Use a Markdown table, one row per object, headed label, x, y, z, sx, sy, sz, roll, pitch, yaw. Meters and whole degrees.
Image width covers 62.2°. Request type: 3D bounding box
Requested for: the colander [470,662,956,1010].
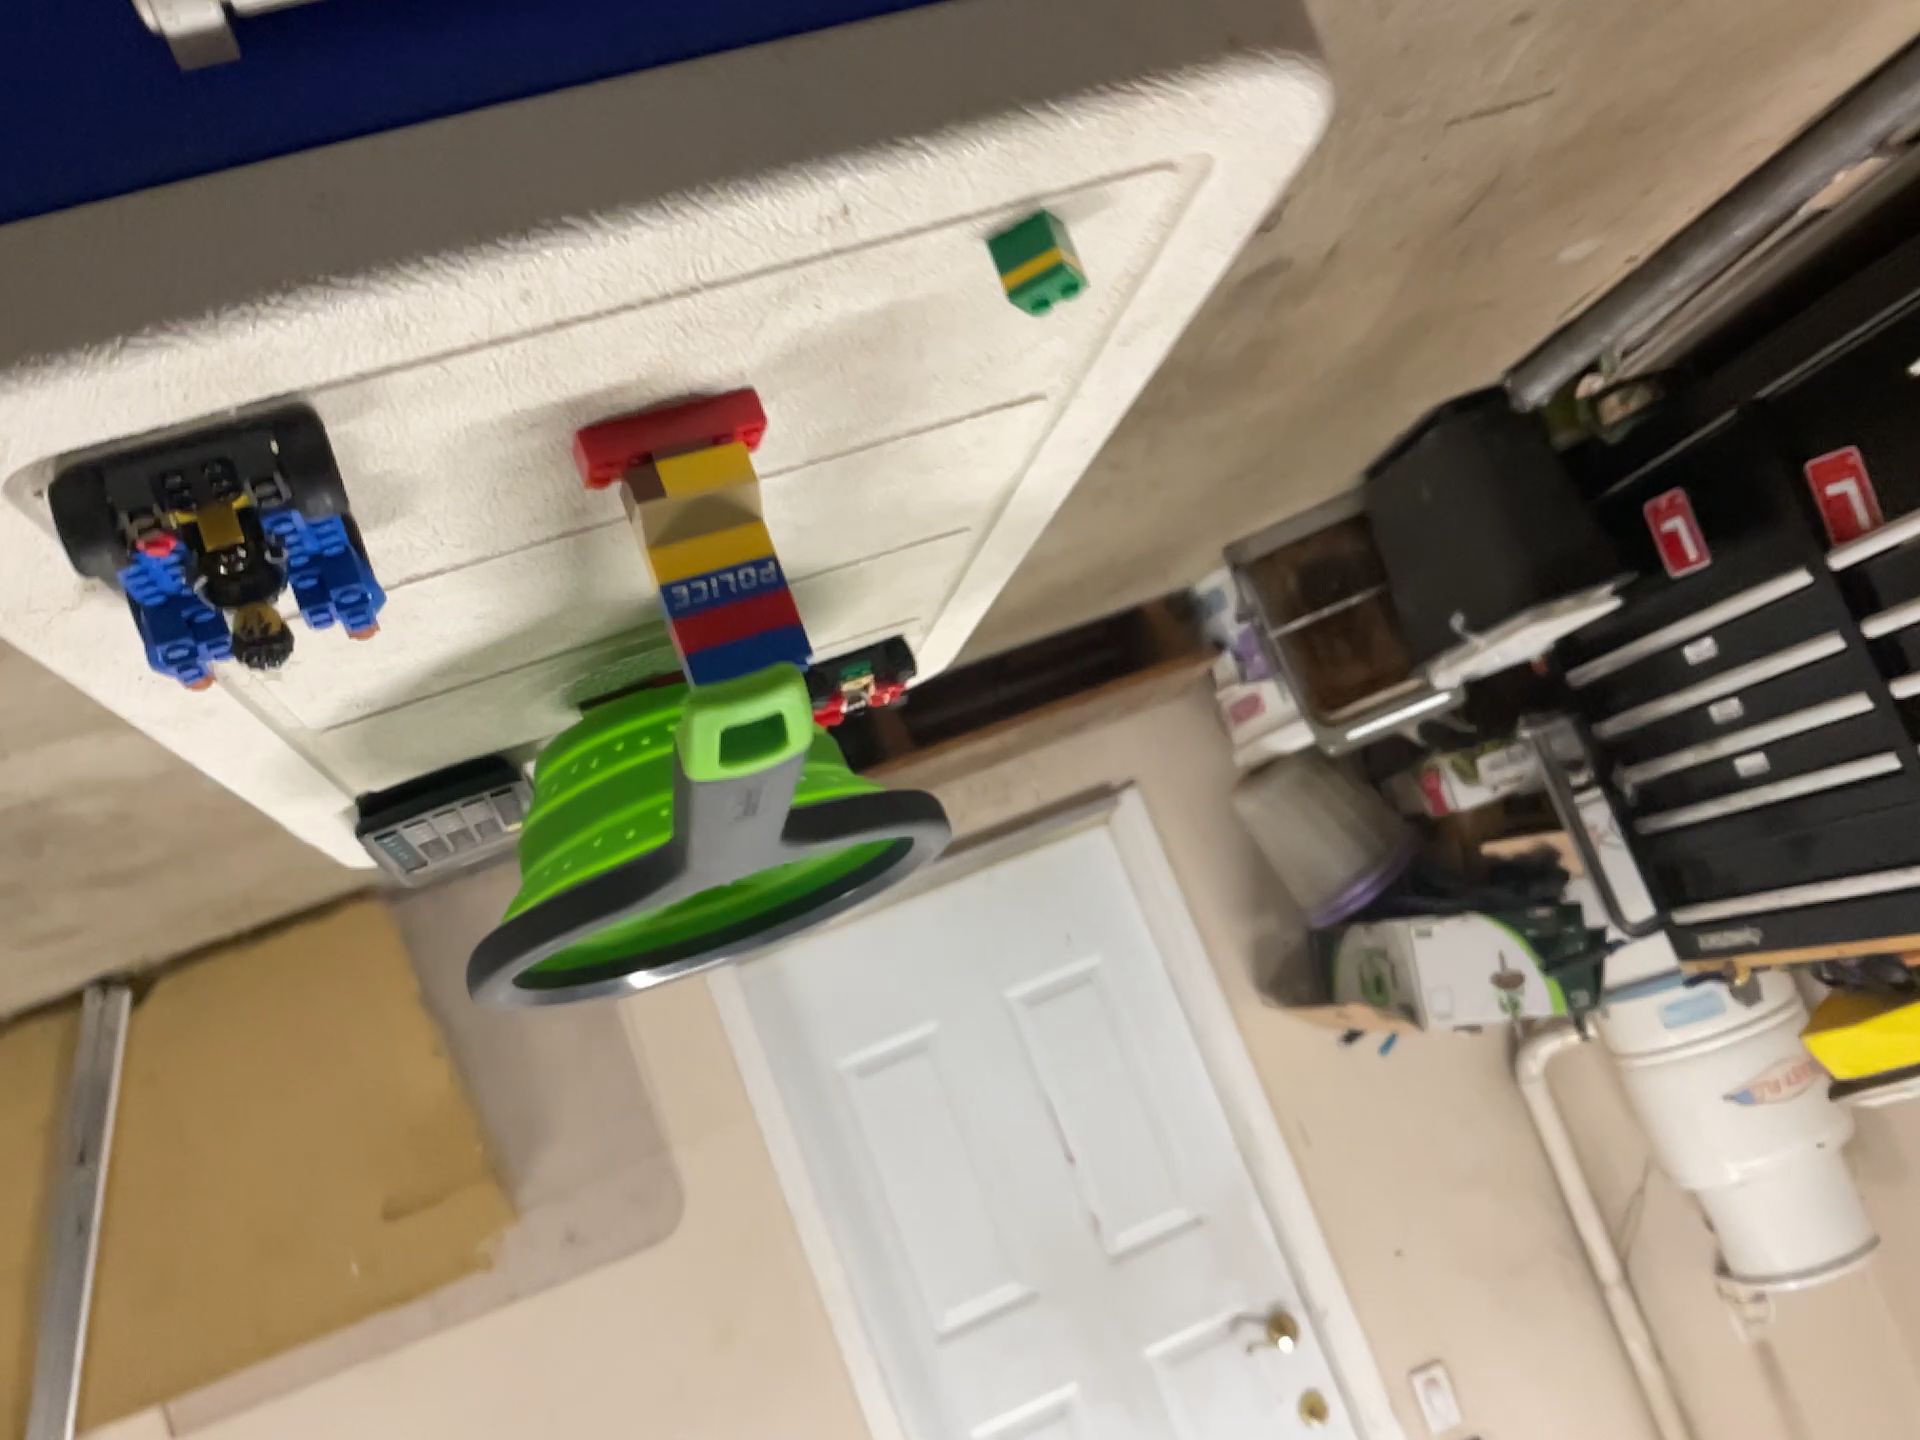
| label | x | y | z | sx | sy | sz | roll | pitch | yaw |
| --- | --- | --- | --- | --- | --- | --- | --- | --- | --- |
| colander | -0.098 | 0.020 | 0.594 | 0.205 | 0.094 | 0.396 | -16 | 166 | -15 |
